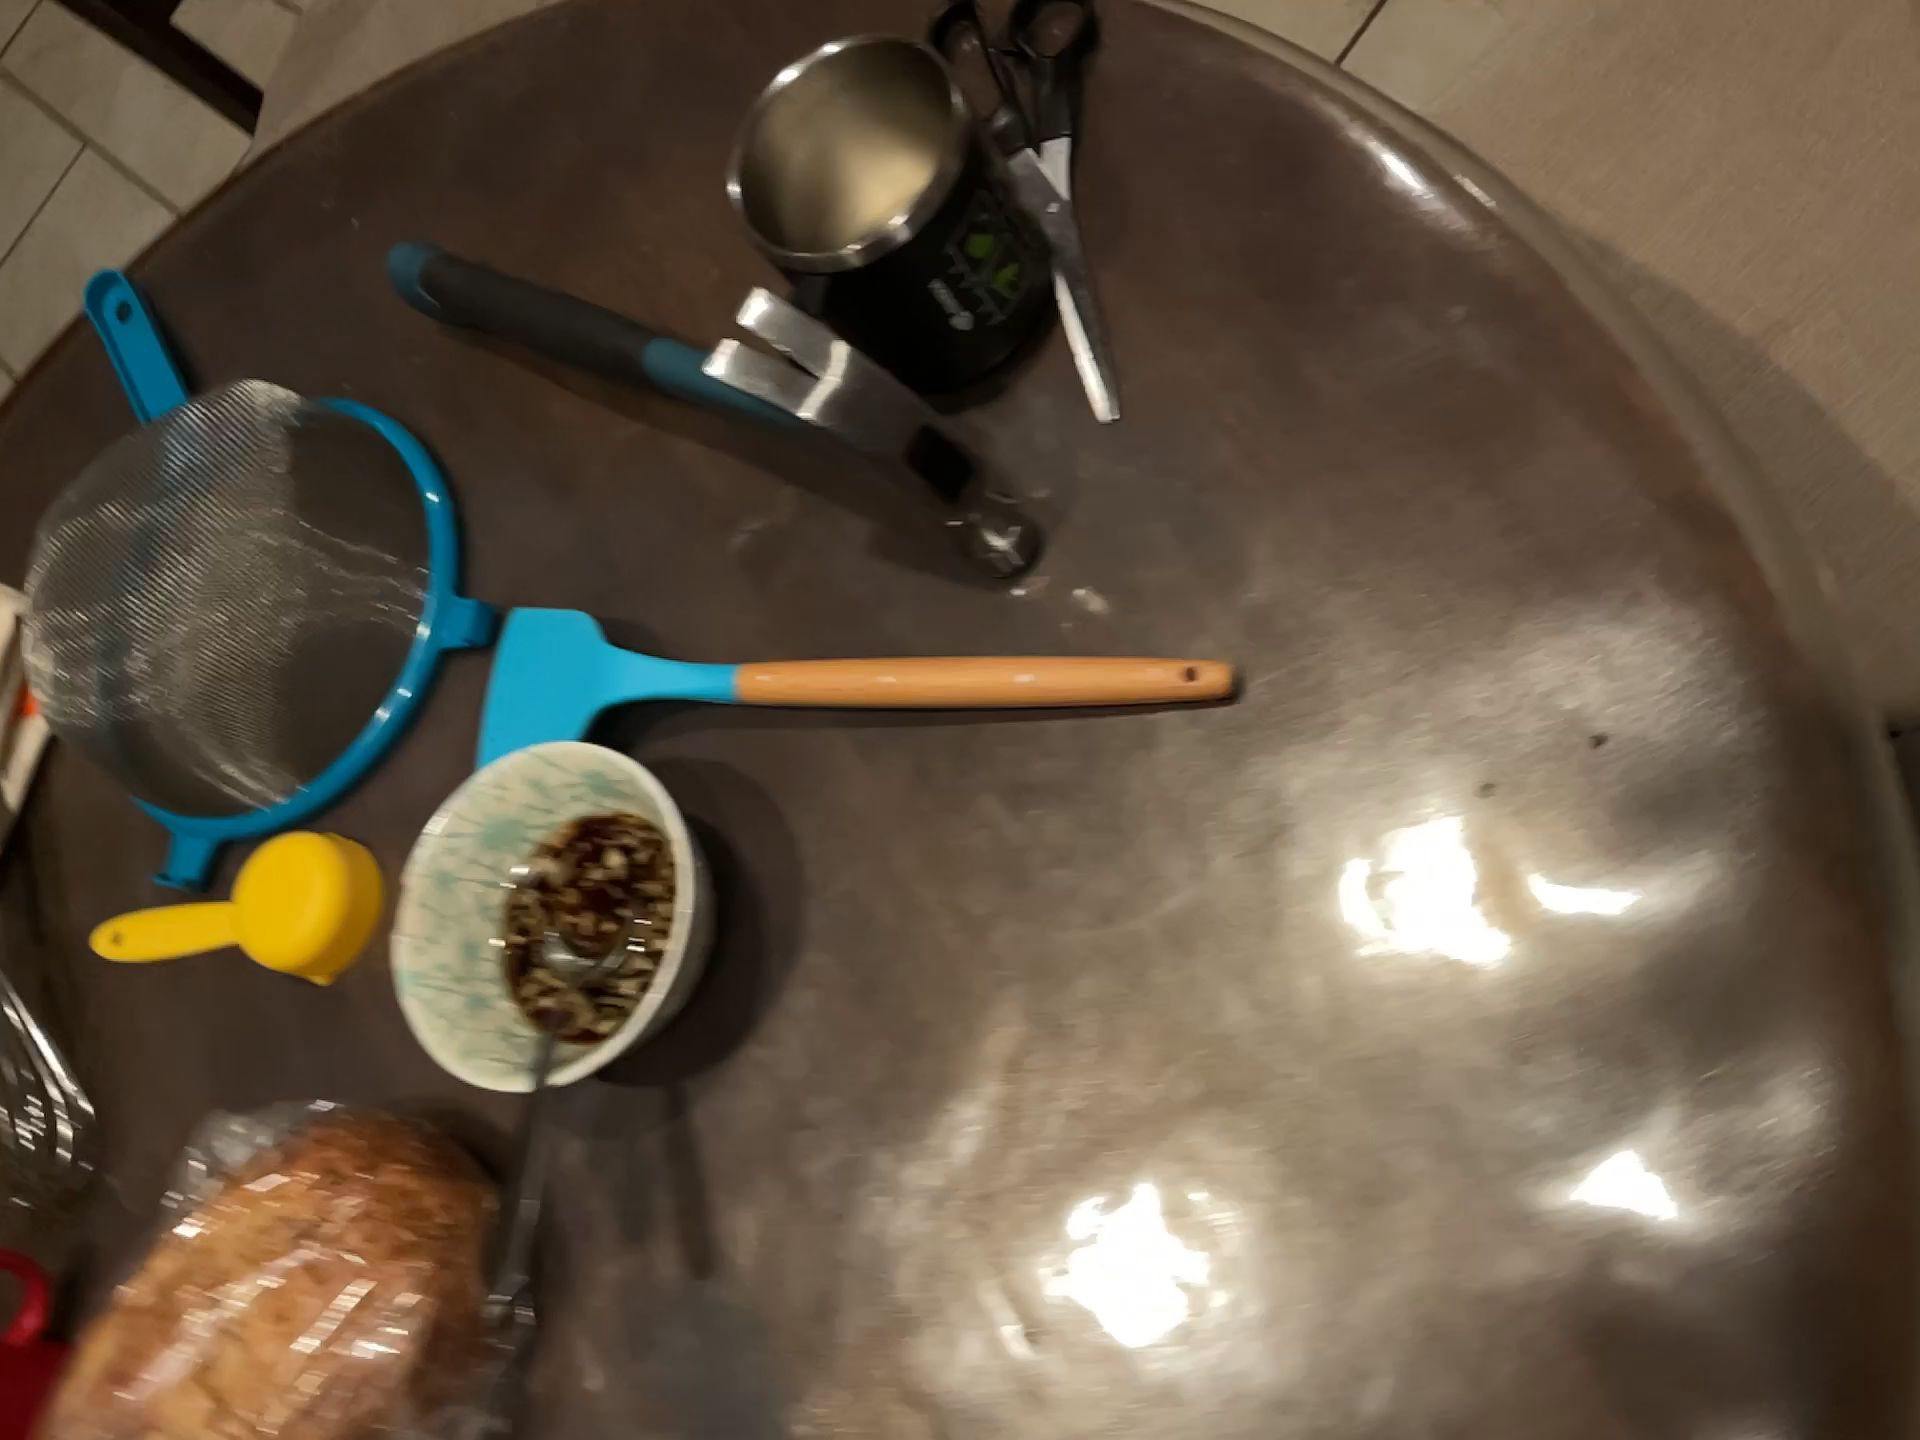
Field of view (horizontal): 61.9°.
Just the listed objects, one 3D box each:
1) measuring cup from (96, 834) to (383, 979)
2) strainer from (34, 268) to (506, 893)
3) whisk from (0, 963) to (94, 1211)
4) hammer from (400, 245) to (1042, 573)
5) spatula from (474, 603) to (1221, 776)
[{"bbox_3d":[-0.317,0.083,0.681,0.156,0.029,0.062,-10,70,19],"label":"measuring cup"},{"bbox_3d":[-0.362,-0.106,0.725,0.211,0.095,0.340,-39,67,7],"label":"strainer"},{"bbox_3d":[-0.436,0.097,0.703,0.059,0.058,0.246,-41,68,41],"label":"whisk"},{"bbox_3d":[-0.121,-0.143,0.638,0.331,0.128,0.033,26,83,37],"label":"hammer"},{"bbox_3d":[-0.058,-0.013,0.607,0.317,0.044,0.082,1,73,19],"label":"spatula"}]
